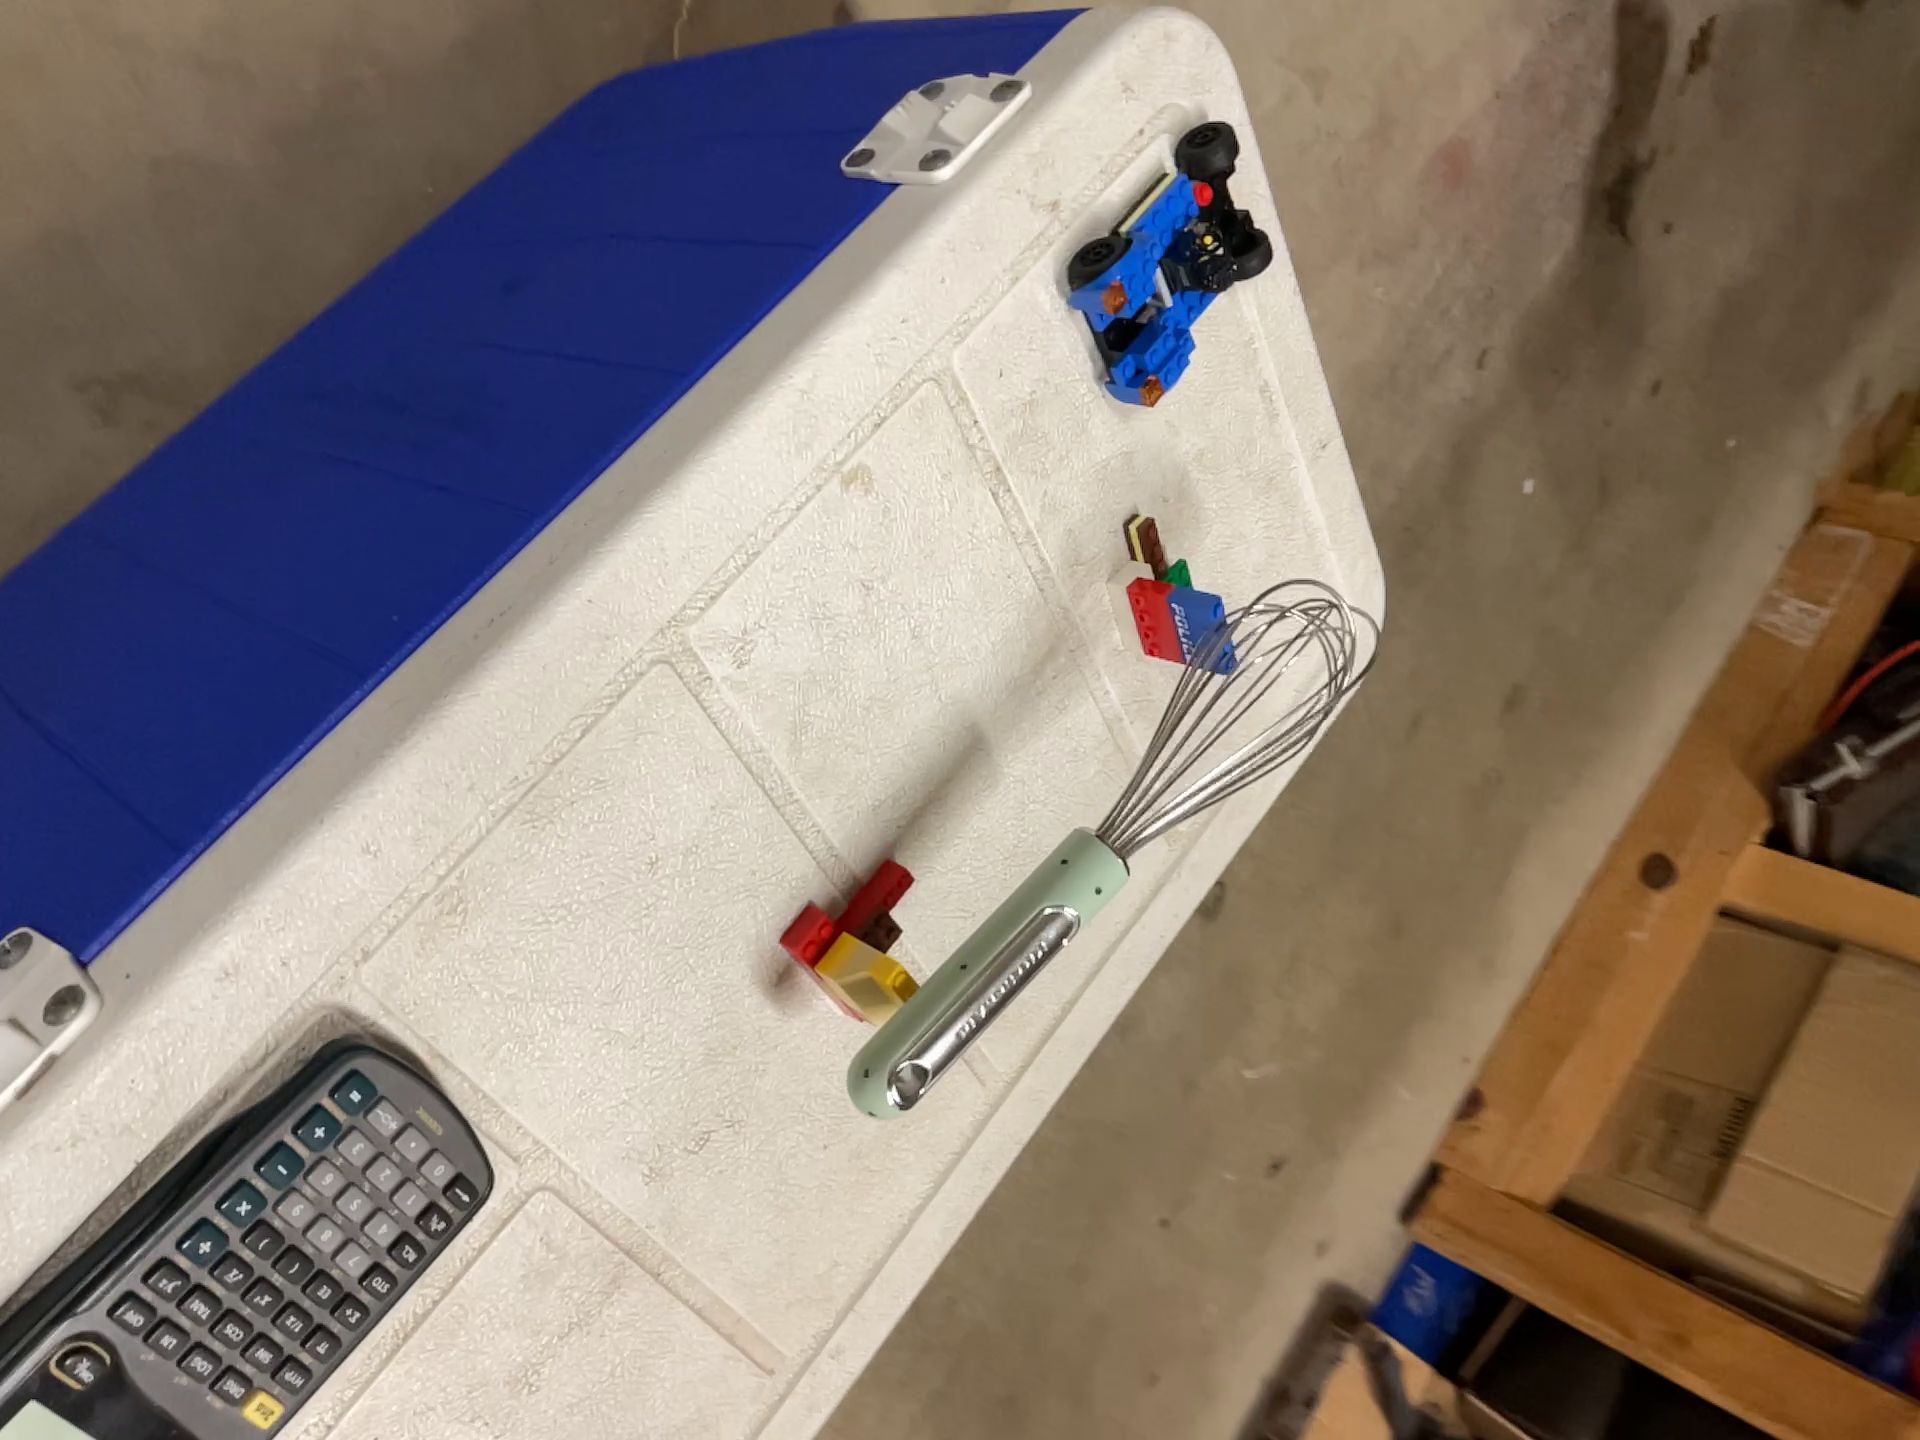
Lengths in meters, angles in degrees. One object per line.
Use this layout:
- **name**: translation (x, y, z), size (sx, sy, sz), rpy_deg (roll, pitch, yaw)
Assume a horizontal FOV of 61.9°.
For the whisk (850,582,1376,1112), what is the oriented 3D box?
- **whisk**: translation (0.054, 0.040, 0.544), size (0.246, 0.059, 0.057), rpy_deg (-44, 125, -17)
